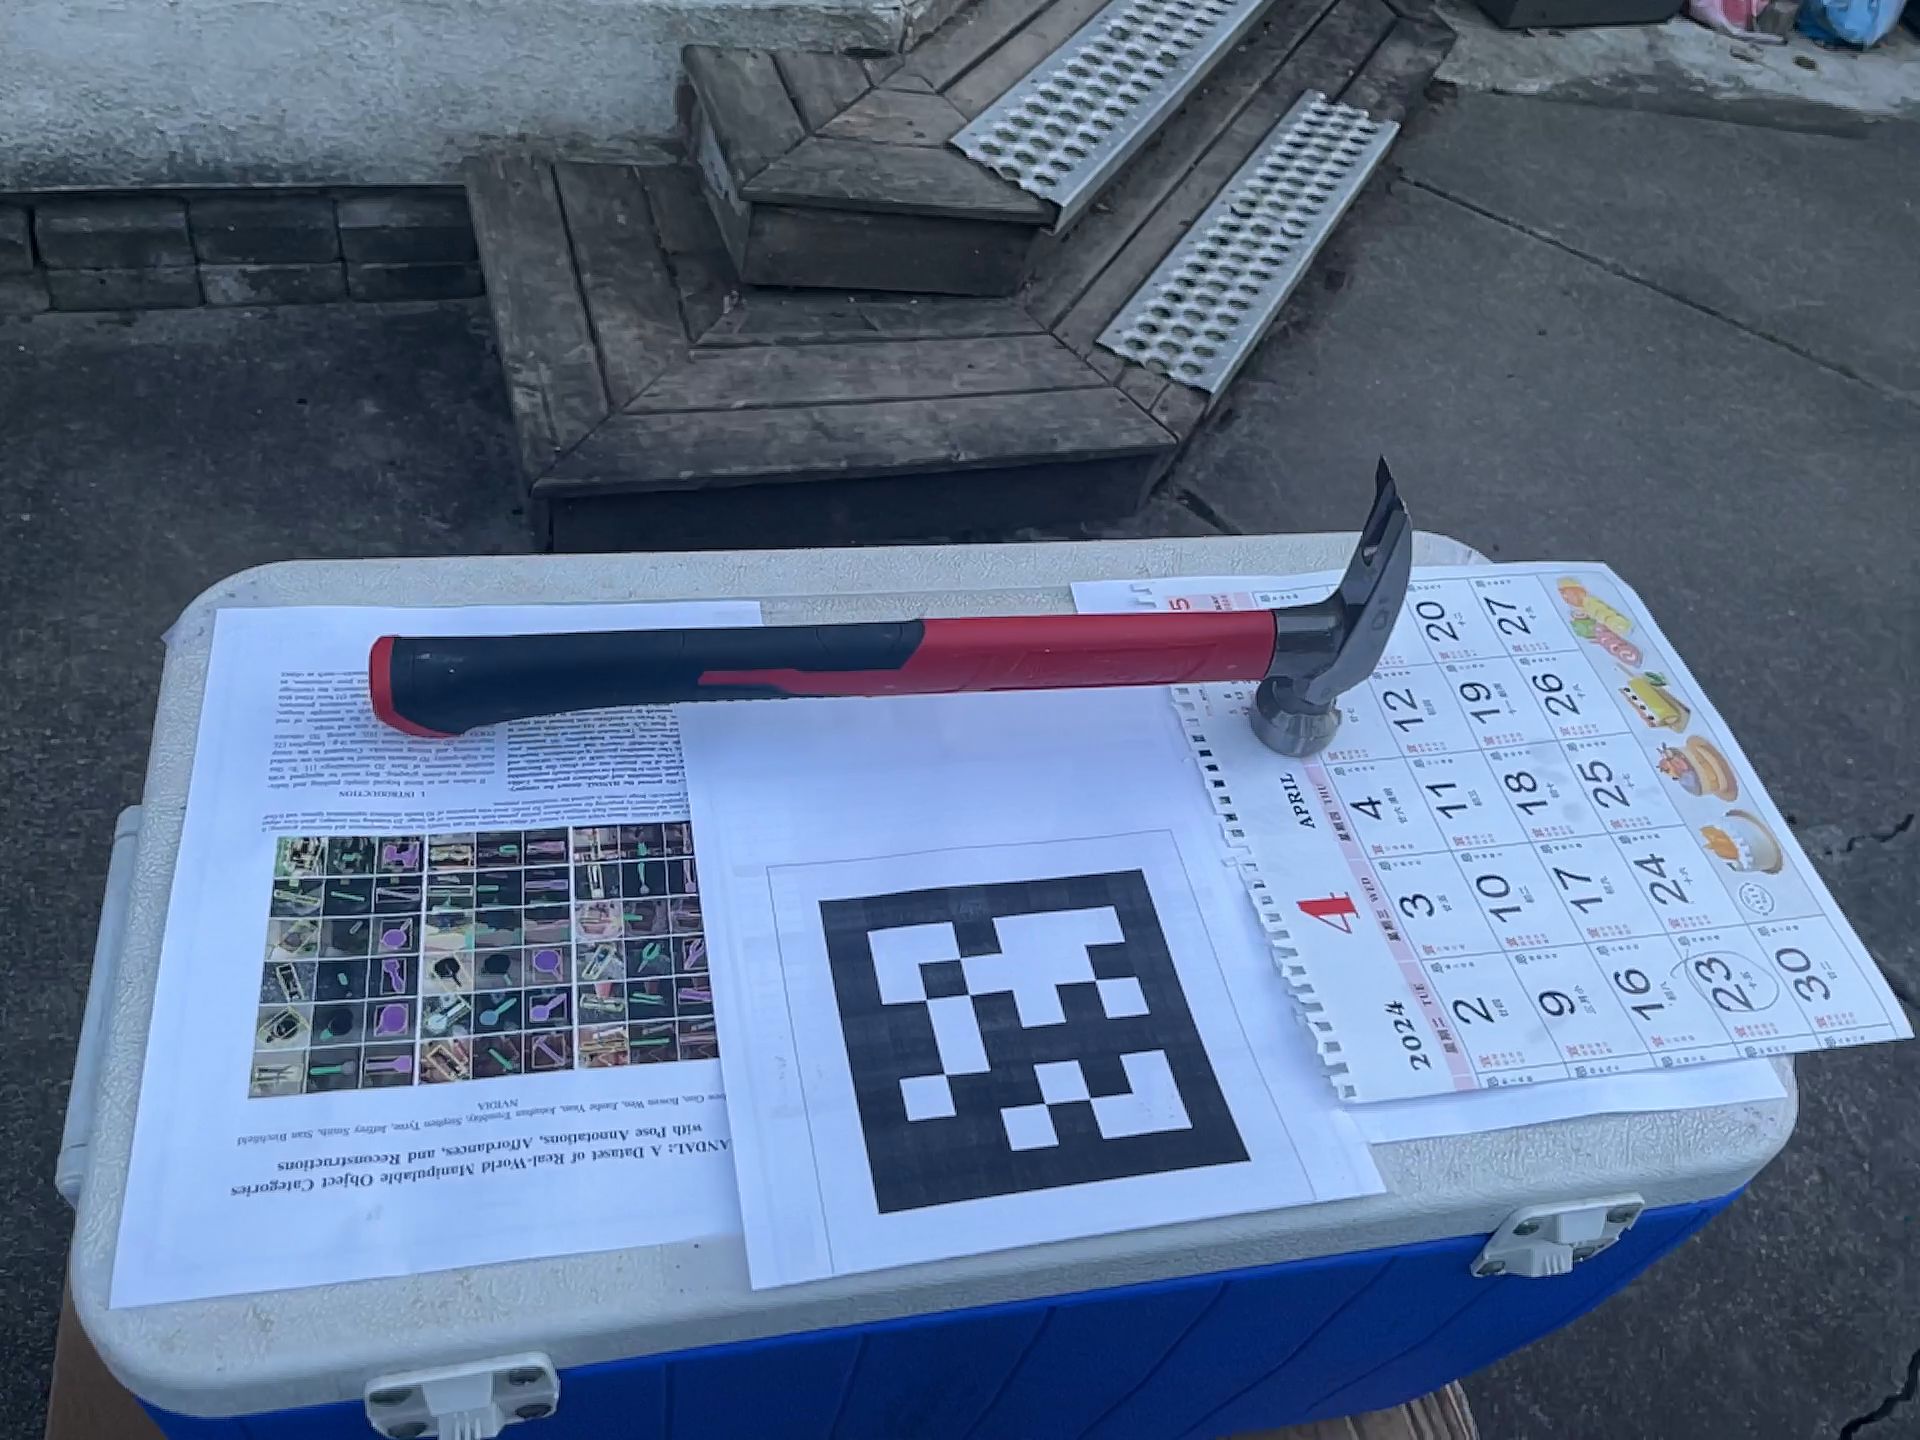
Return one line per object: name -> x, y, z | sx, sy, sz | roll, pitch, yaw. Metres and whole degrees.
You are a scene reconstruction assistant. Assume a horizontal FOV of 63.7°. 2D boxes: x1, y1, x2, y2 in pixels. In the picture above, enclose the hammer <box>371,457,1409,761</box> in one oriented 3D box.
hammer -> -0.025, -0.033, 0.591 | 0.386, 0.143, 0.038 | -2, 51, -8
